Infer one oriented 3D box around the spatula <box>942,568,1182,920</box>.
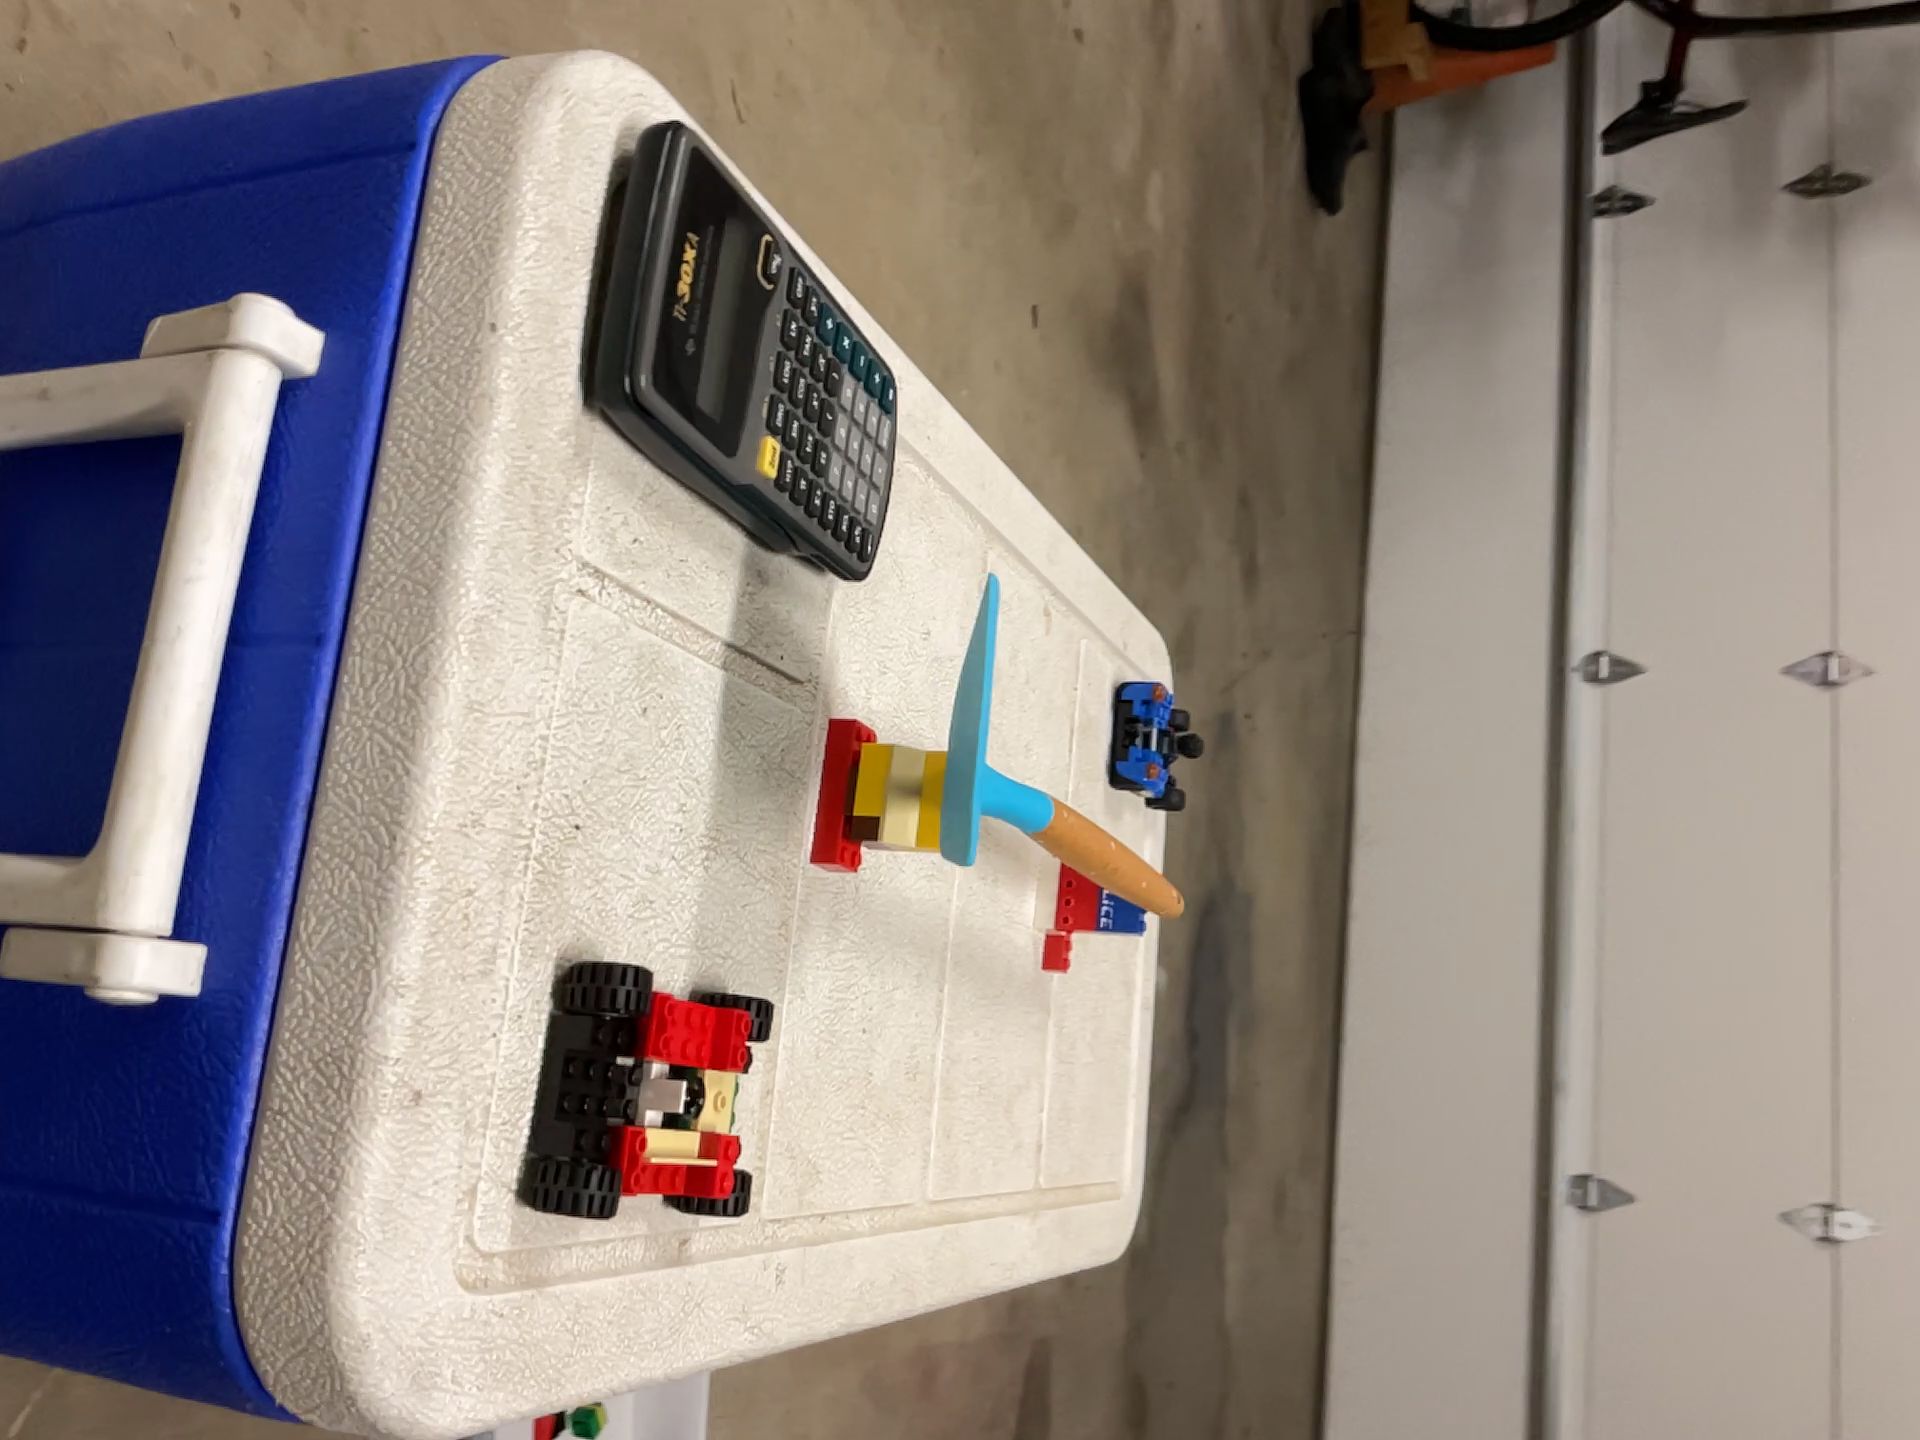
[{"bbox_3d":[0.044,0.040,0.557,0.317,0.044,0.082,36,55,-63],"label":"spatula"}]
